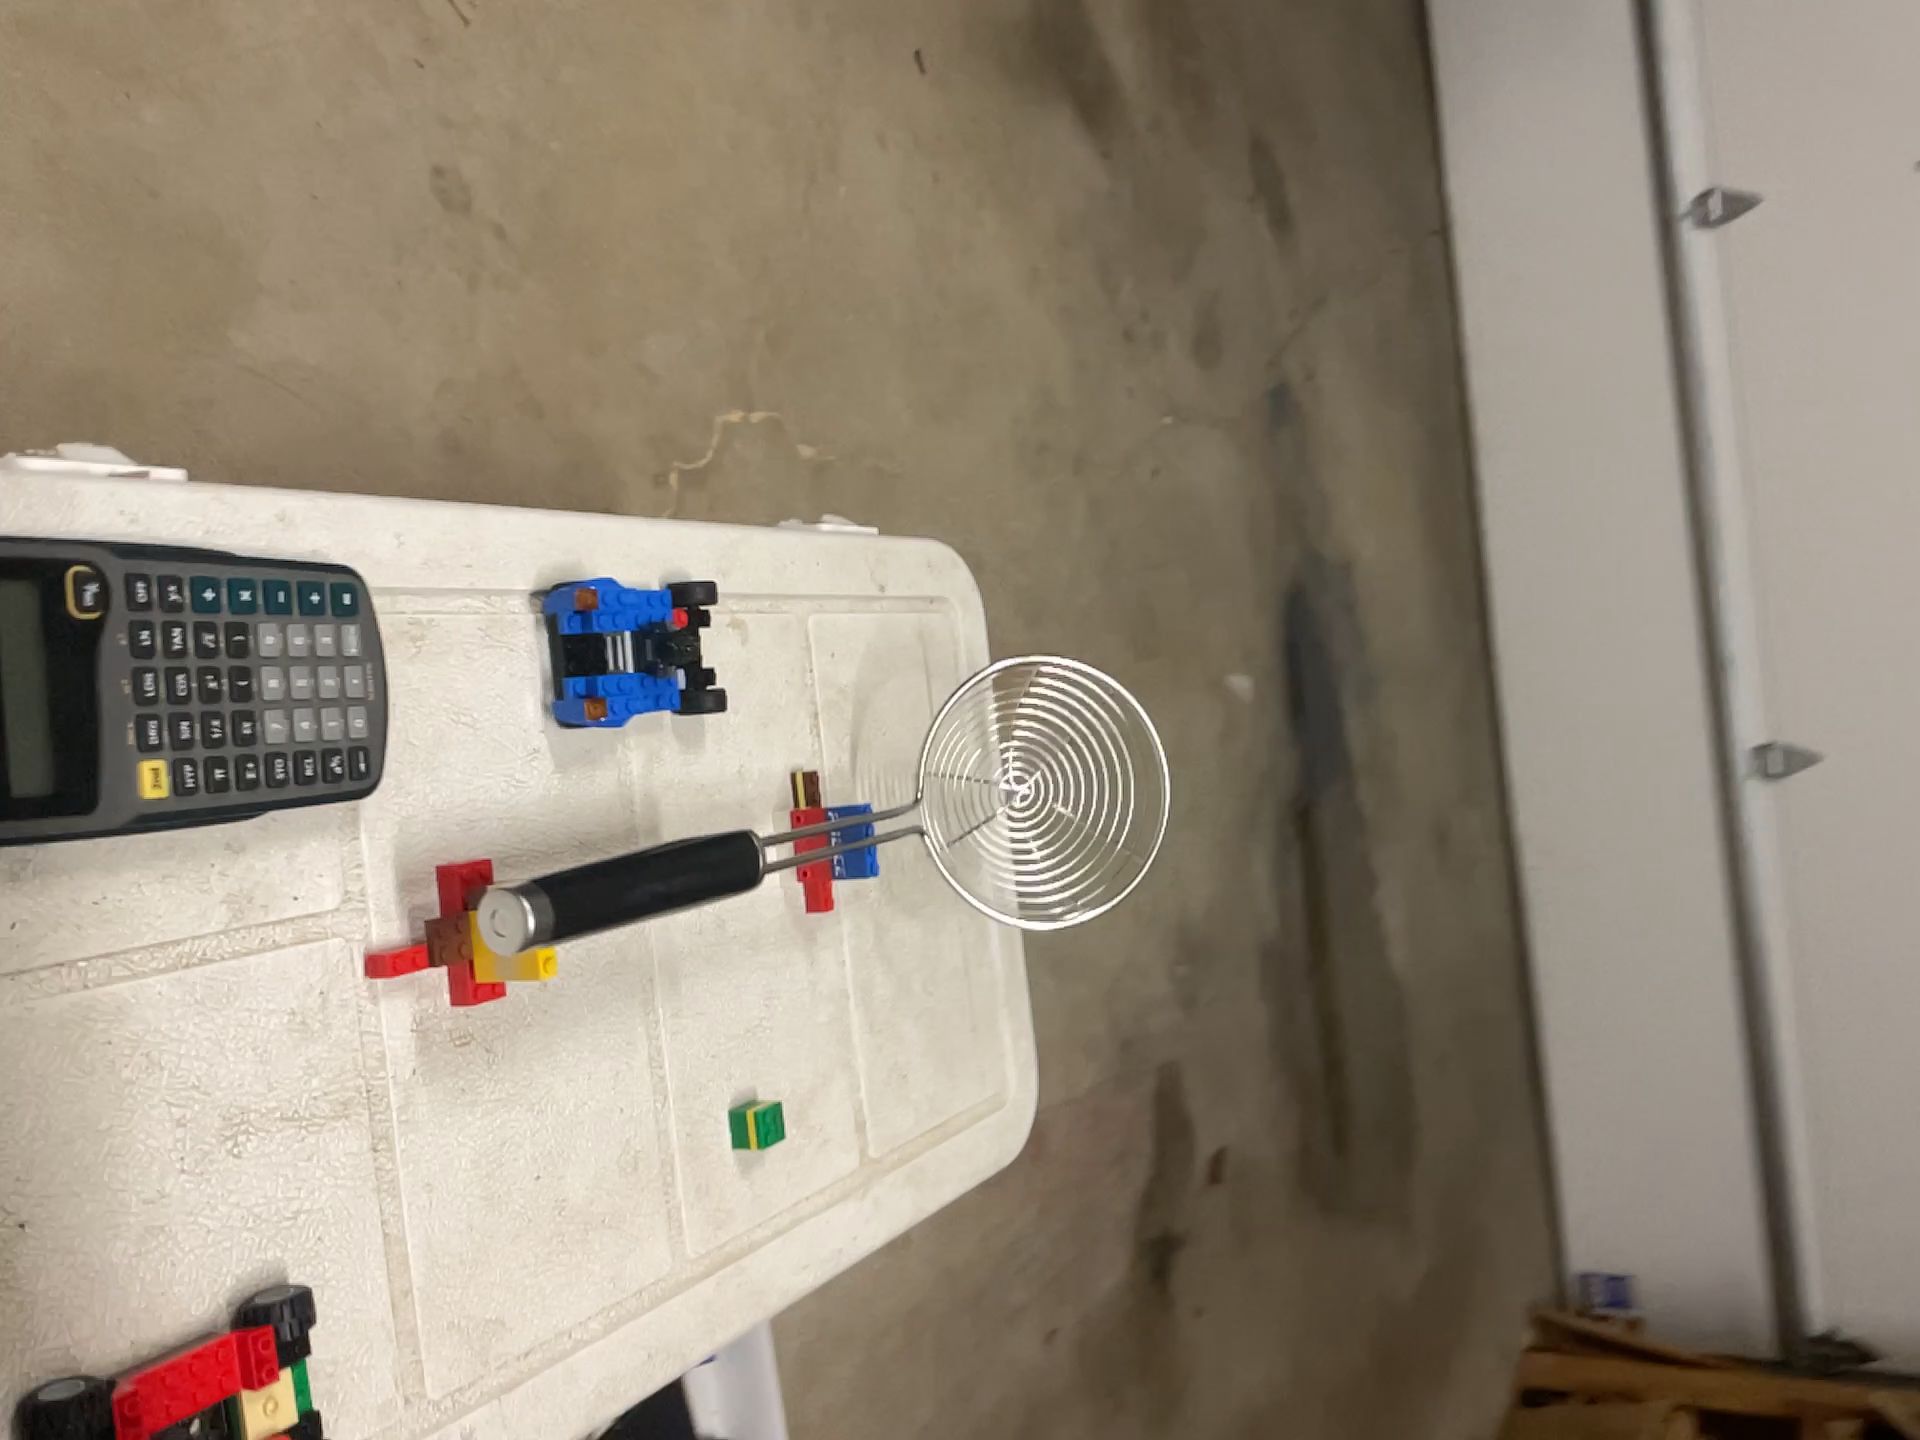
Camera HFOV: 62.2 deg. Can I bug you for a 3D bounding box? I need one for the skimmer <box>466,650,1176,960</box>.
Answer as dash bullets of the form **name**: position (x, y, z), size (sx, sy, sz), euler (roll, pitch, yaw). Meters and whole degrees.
- **skimmer**: position (-0.026, 0.042, 0.614), size (0.363, 0.090, 0.127), euler (-9, 90, -60)
